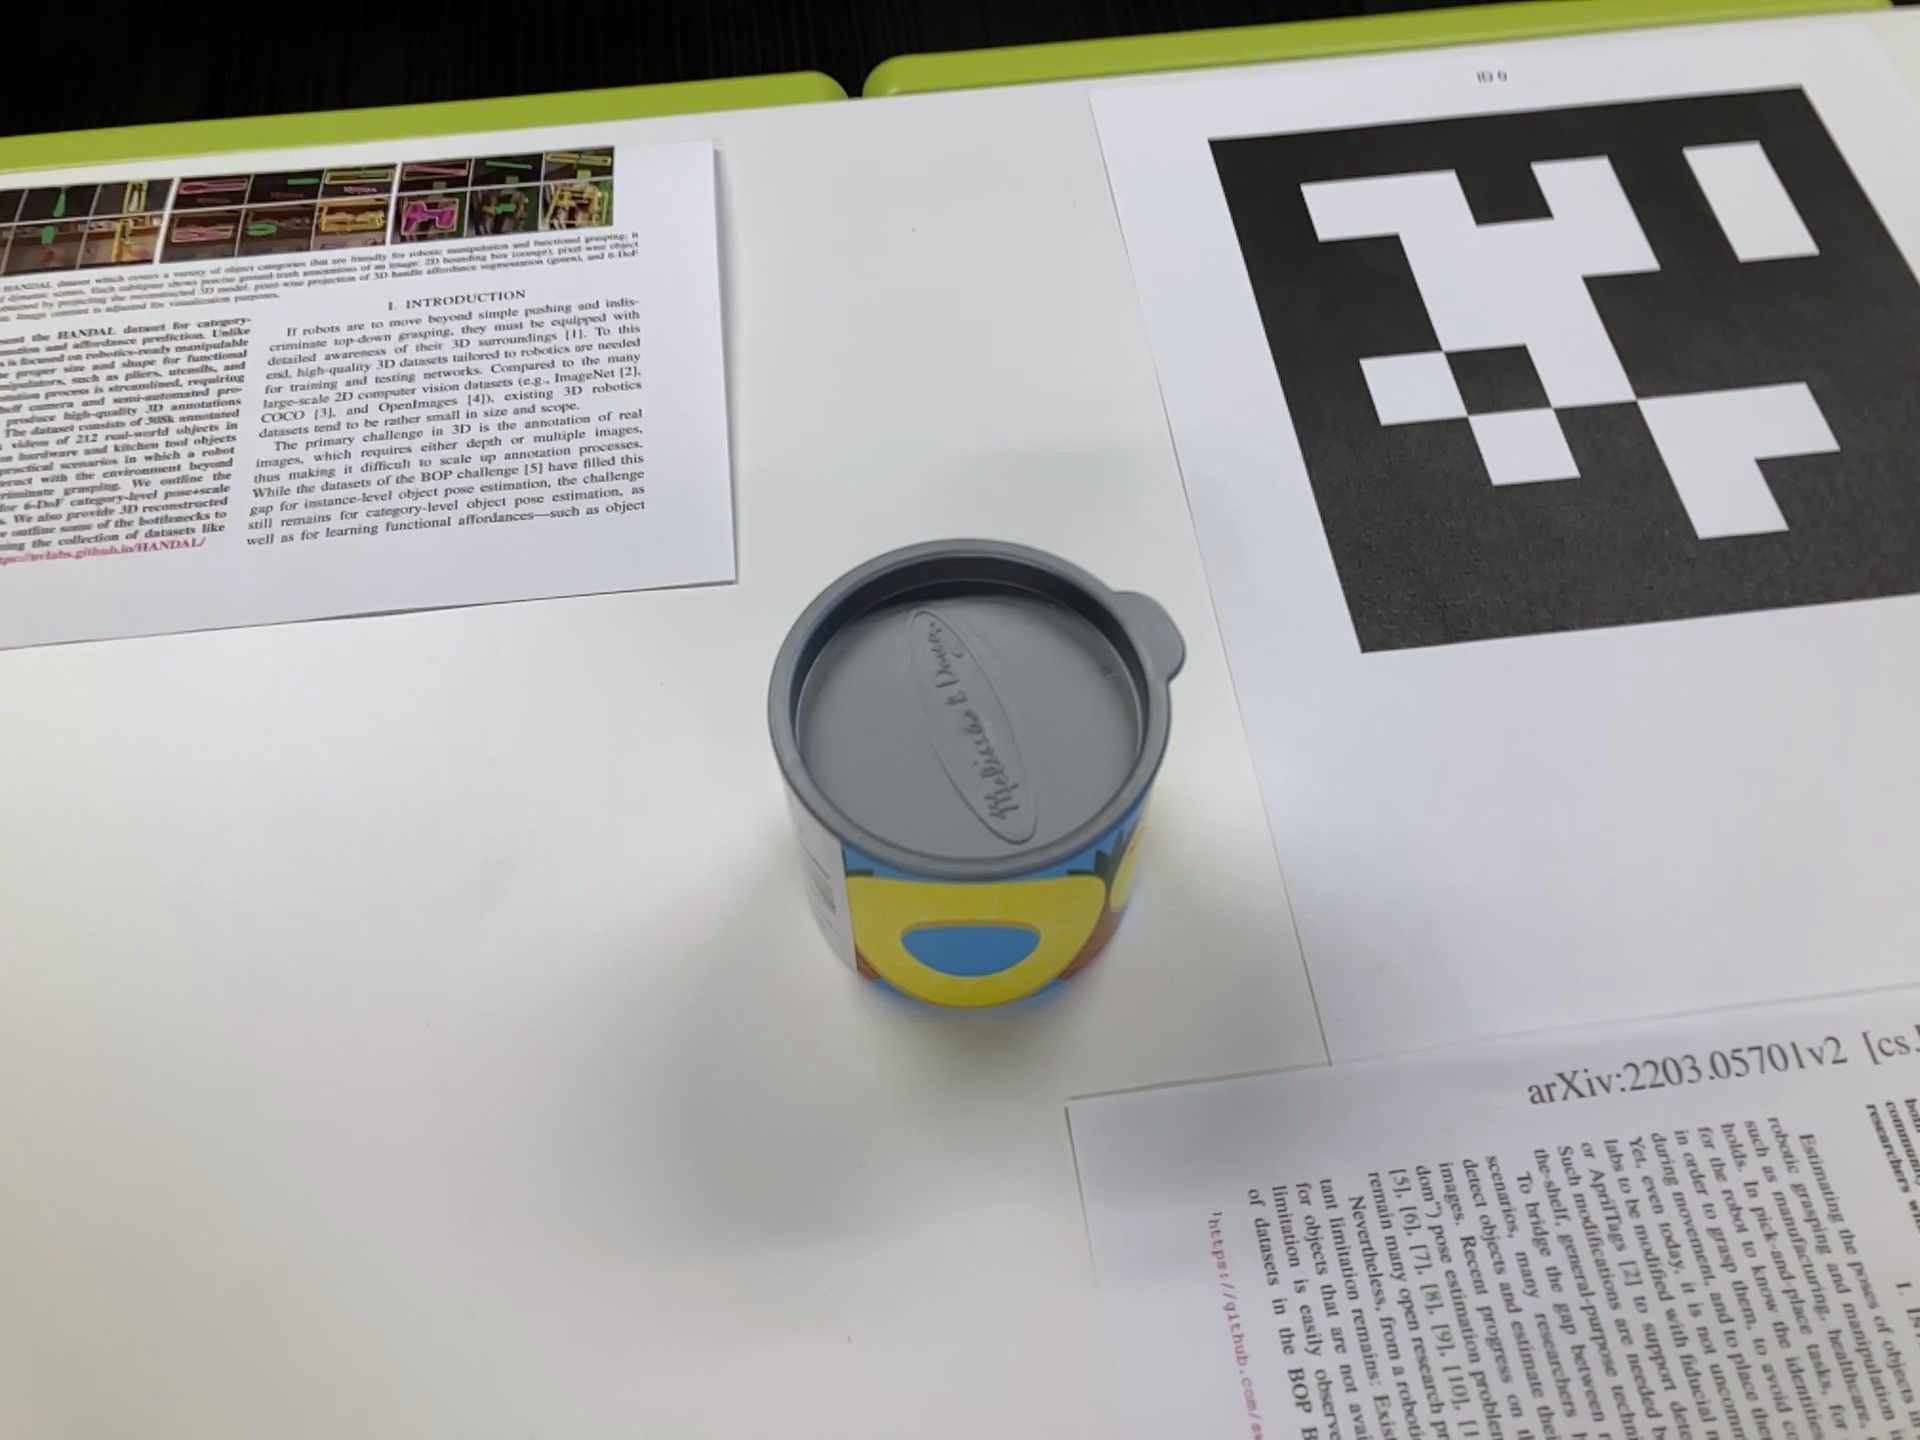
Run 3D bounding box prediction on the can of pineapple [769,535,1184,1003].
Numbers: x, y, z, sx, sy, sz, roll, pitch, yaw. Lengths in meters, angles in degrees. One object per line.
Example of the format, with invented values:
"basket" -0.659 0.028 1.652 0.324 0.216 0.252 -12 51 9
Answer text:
"can of pineapple" 0.003 0.010 0.285 0.071 0.058 0.071 0 60 0
